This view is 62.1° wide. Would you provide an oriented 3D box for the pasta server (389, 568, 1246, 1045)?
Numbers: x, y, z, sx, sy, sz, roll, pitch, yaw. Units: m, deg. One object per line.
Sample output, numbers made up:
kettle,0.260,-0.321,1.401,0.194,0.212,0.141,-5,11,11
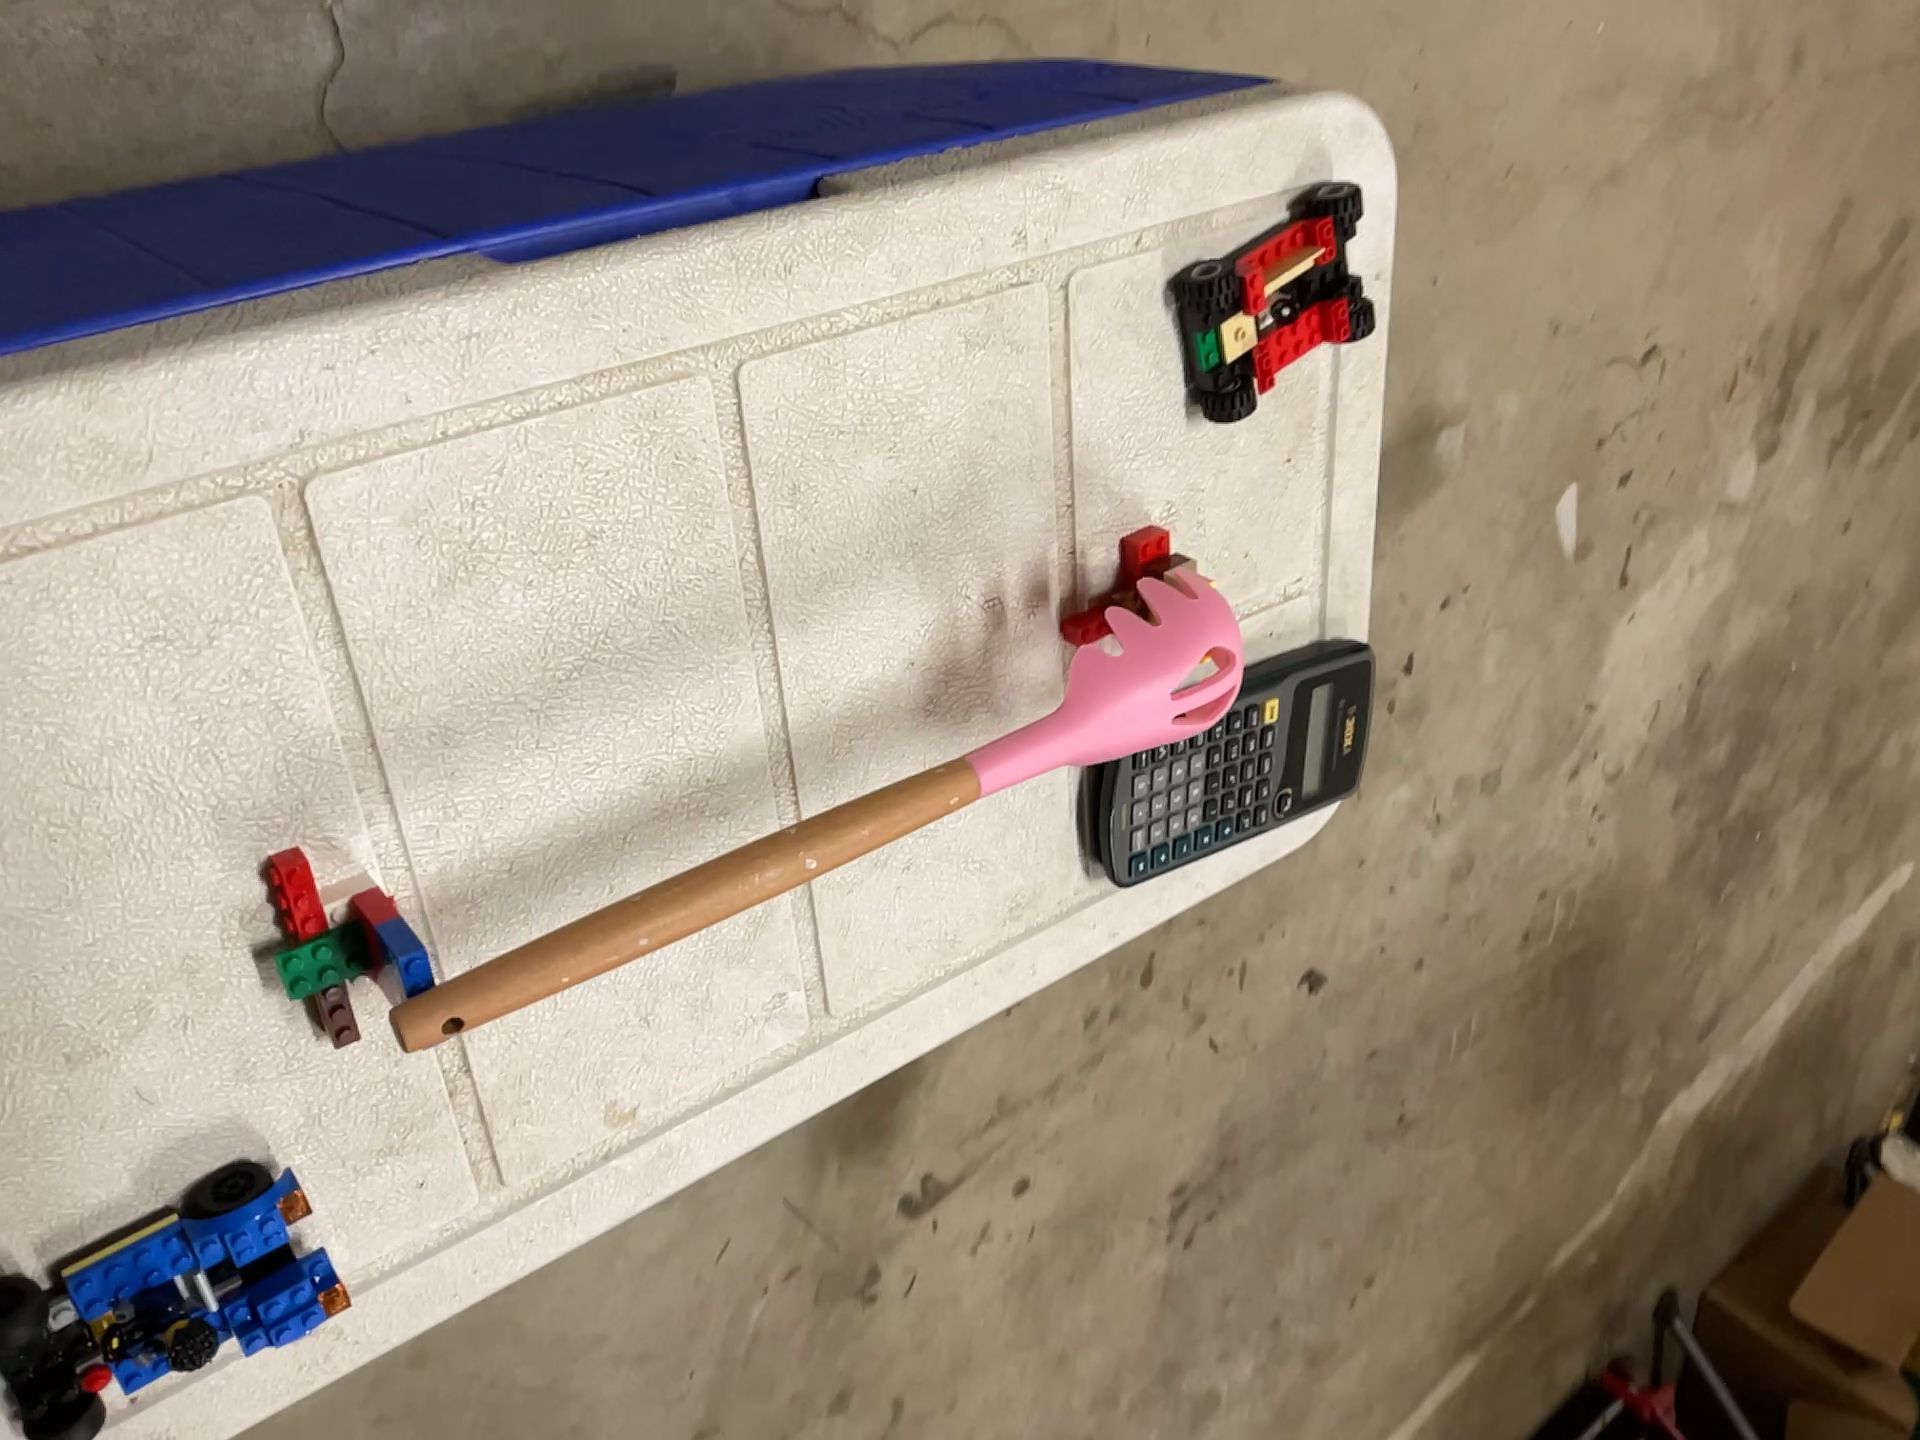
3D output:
pasta server,-0.024,0.025,0.503,0.316,0.040,0.060,-23,125,-27
